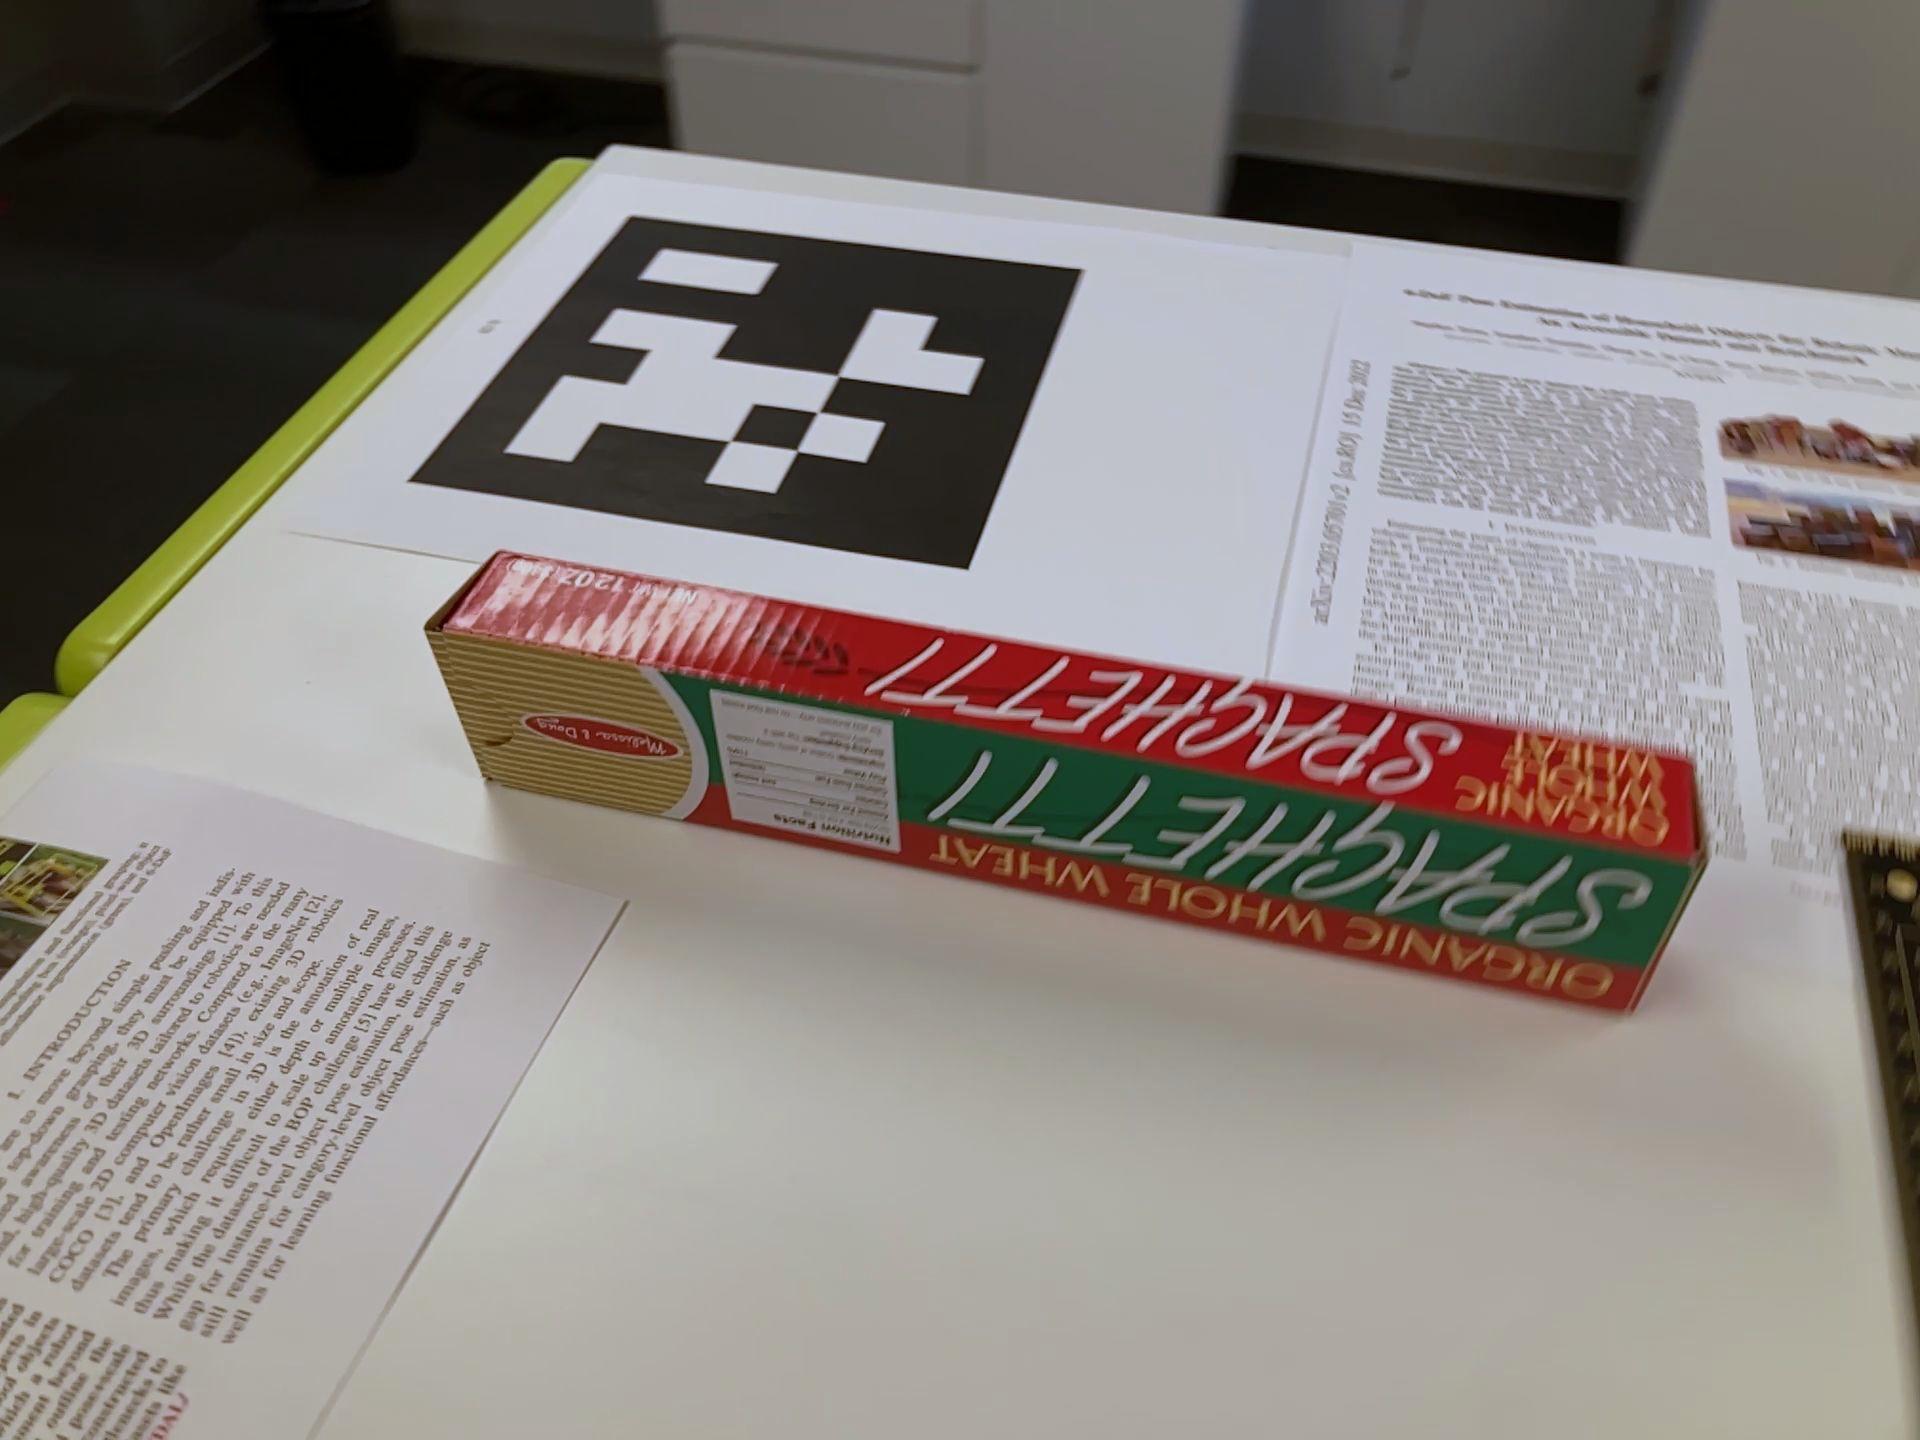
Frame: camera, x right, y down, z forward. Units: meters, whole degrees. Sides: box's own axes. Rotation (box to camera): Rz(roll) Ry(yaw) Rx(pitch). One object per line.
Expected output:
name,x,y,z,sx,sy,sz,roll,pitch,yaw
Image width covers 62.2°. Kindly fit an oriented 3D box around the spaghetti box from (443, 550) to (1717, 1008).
spaghetti box,0.017,0.011,0.329,0.250,0.050,0.028,10,47,11
